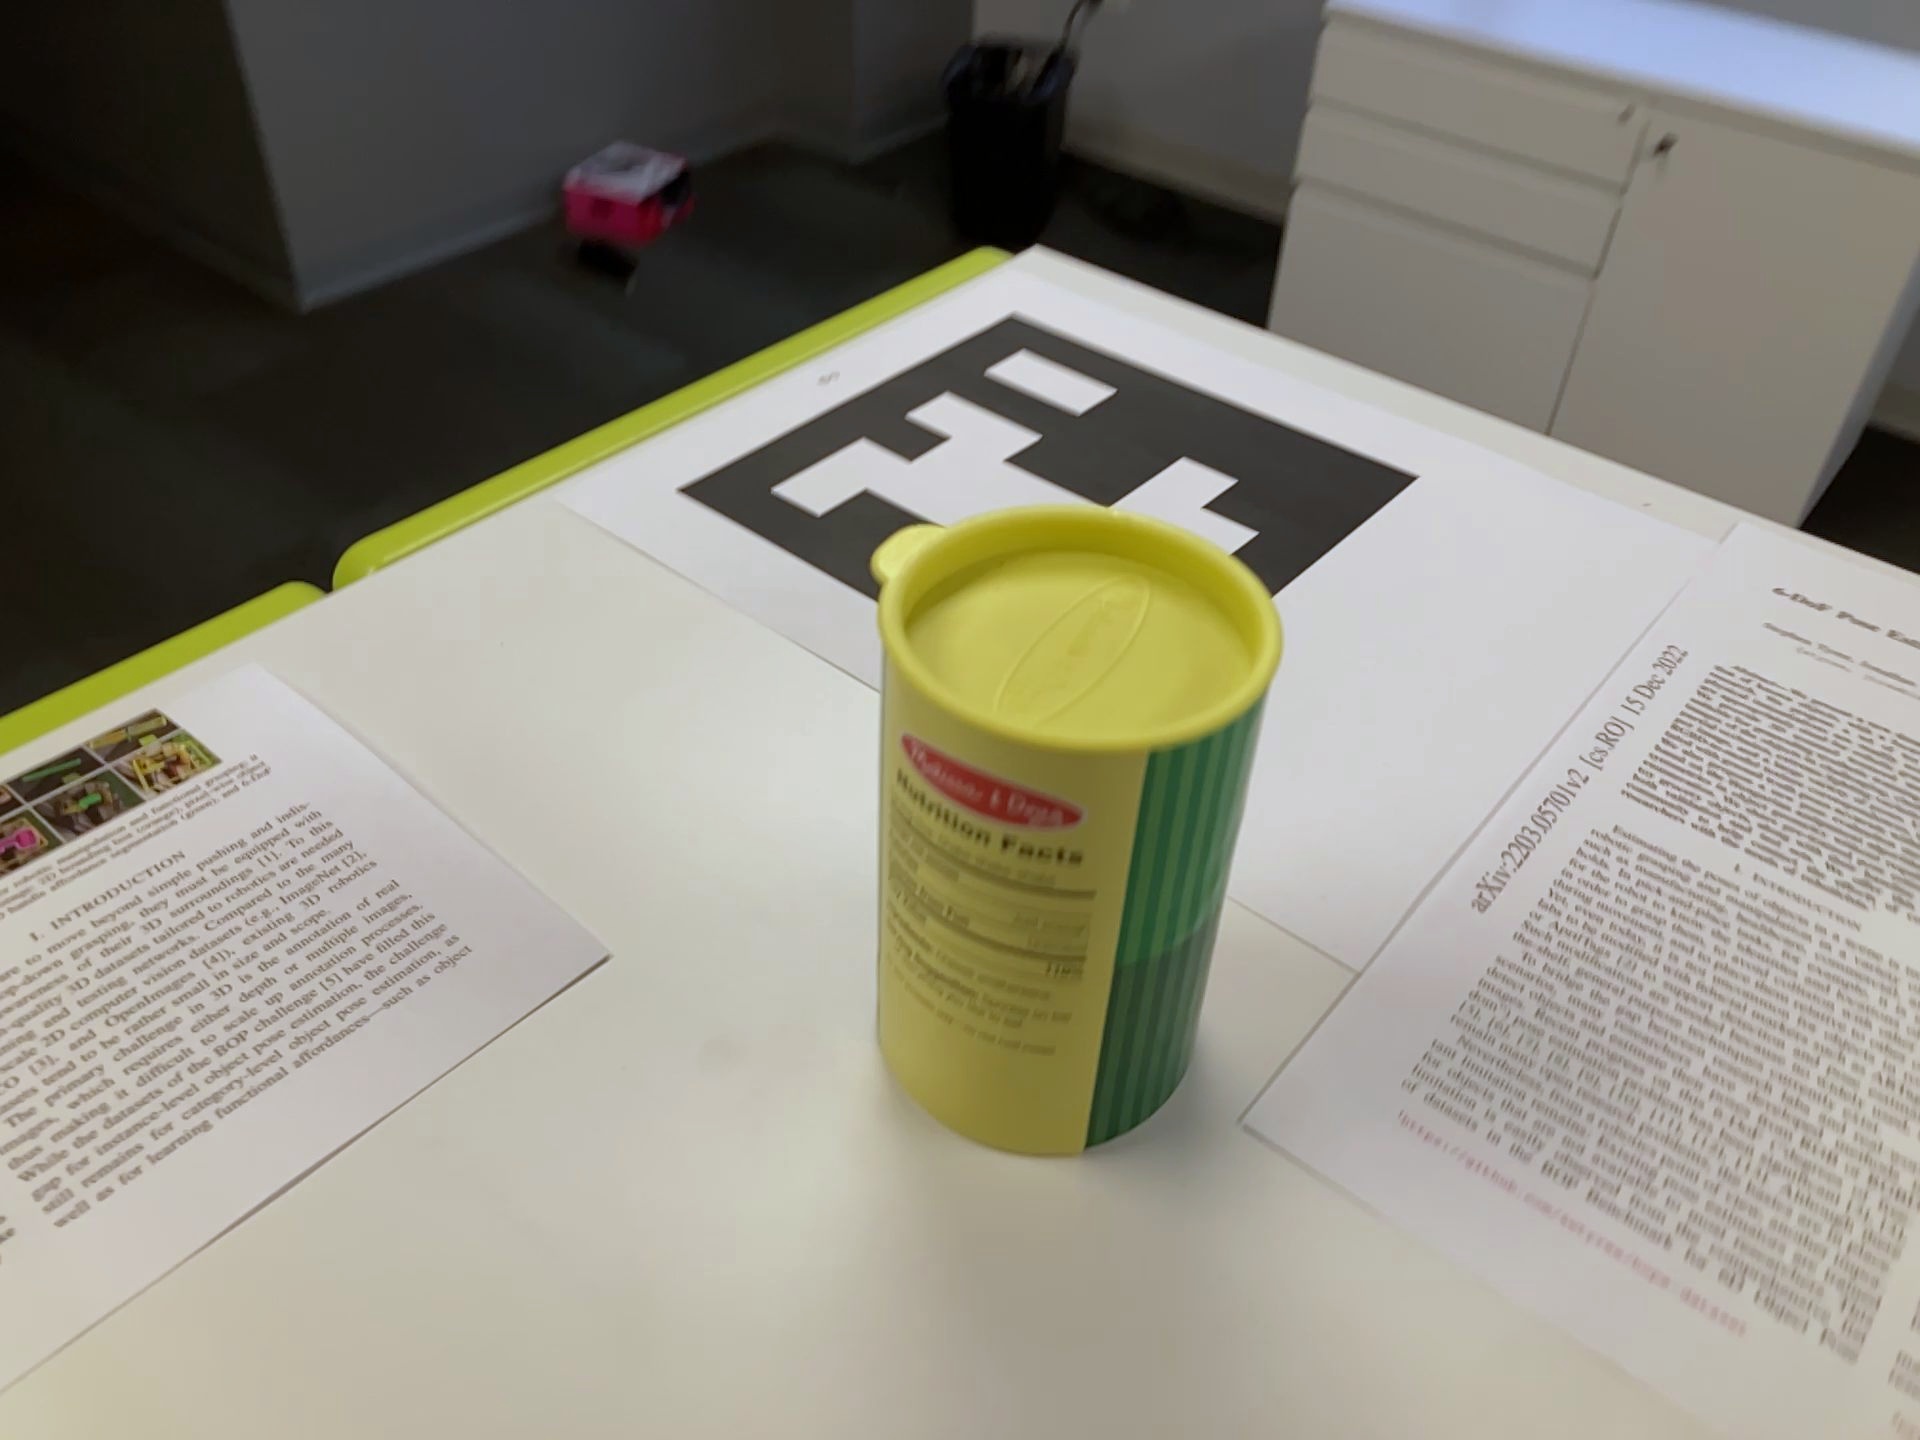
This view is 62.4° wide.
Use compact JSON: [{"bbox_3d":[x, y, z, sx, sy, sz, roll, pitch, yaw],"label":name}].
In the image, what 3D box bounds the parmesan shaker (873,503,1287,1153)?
[{"bbox_3d":[0.016,0.020,0.292,0.071,0.103,0.071,2,40,-2],"label":"parmesan shaker"}]
